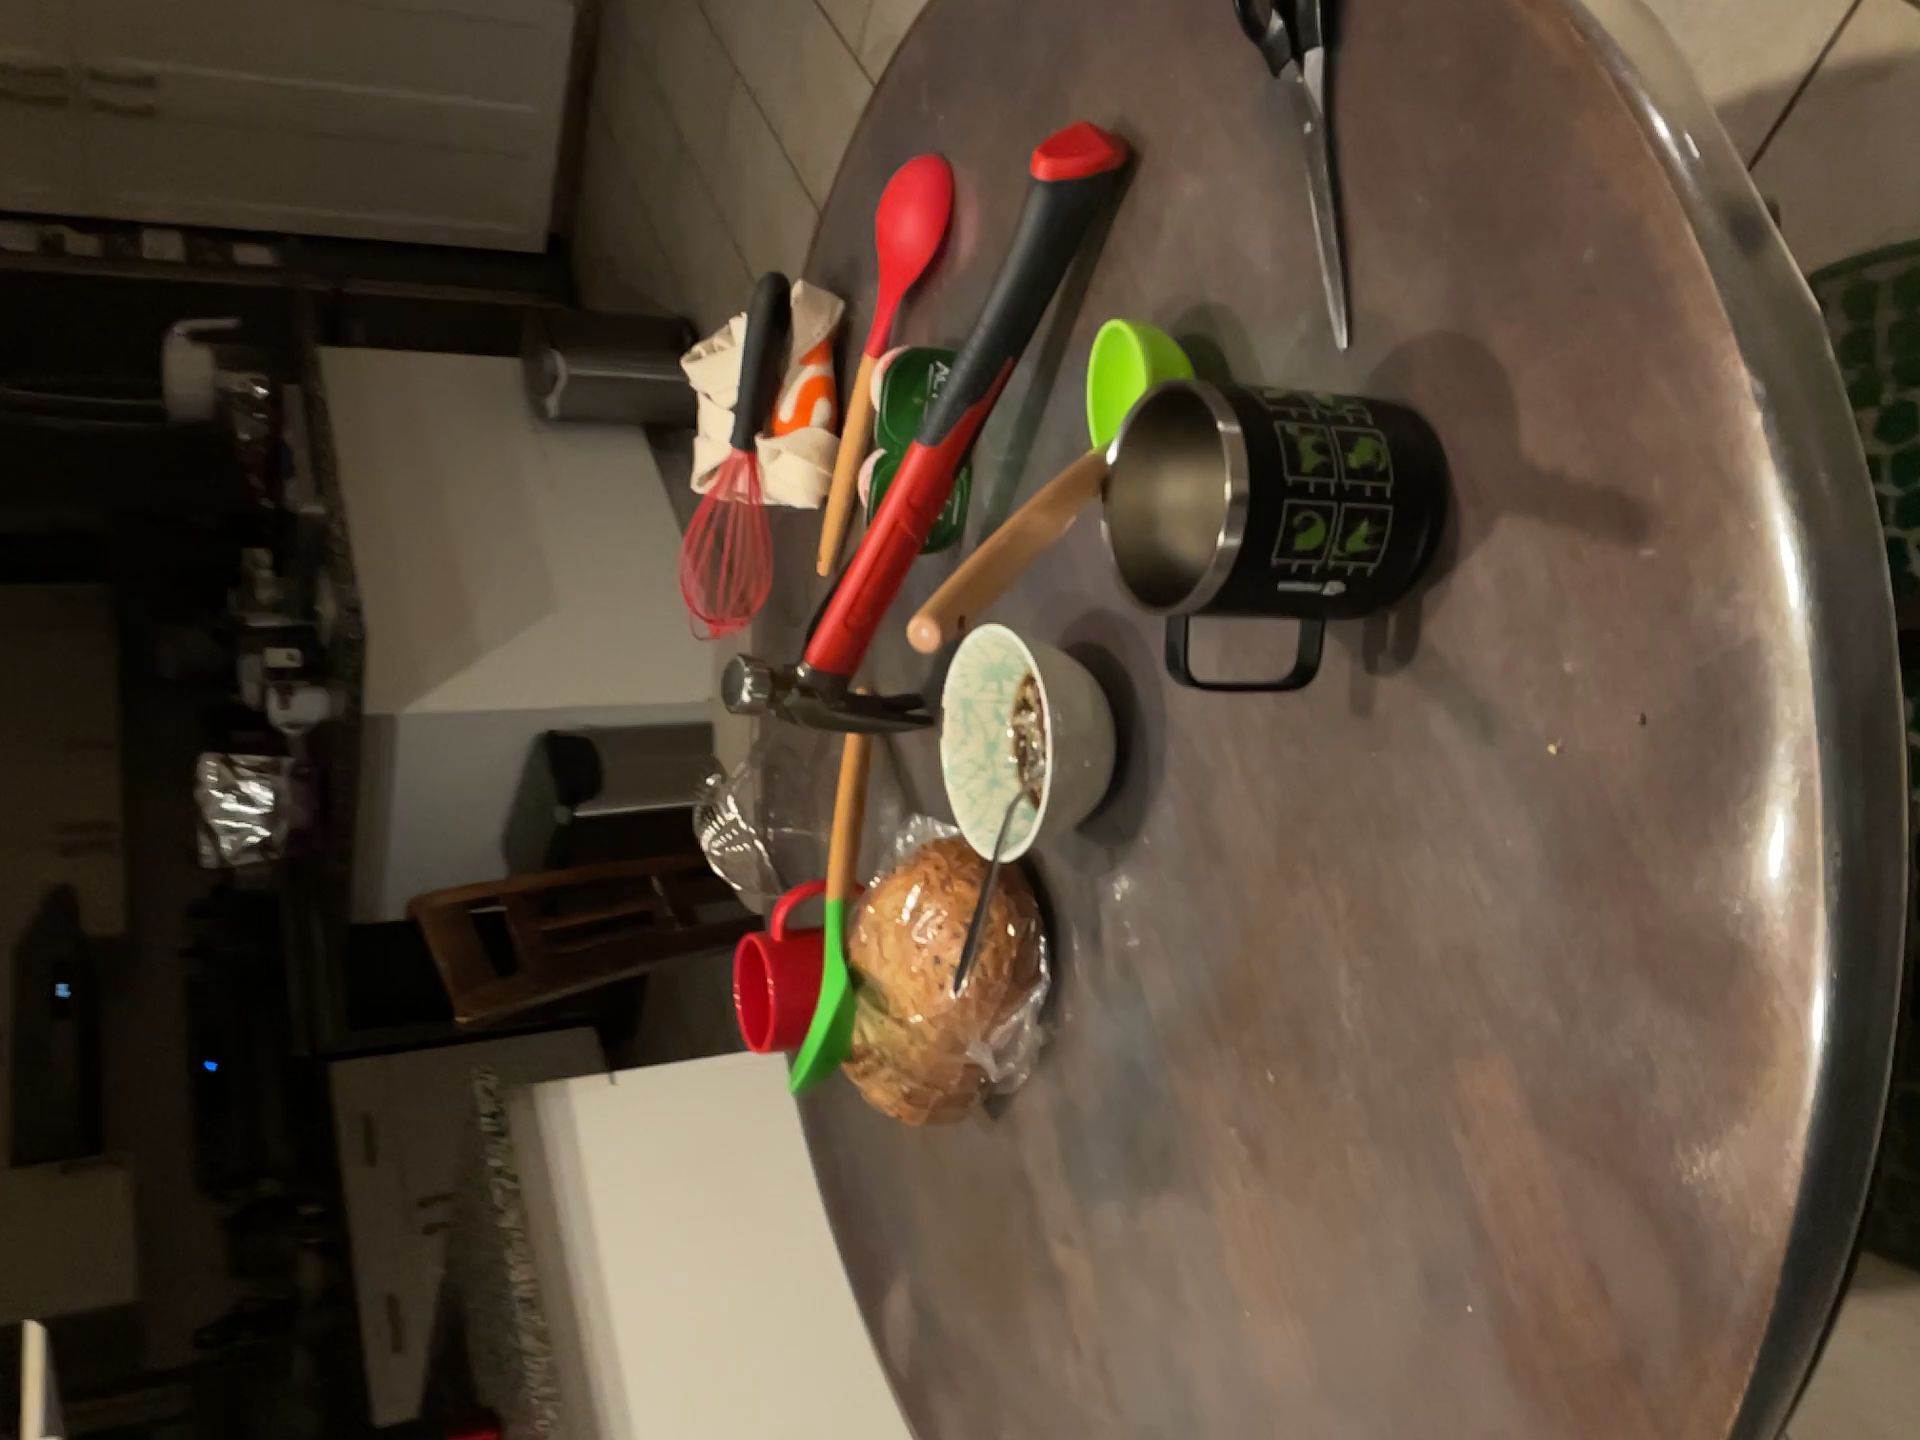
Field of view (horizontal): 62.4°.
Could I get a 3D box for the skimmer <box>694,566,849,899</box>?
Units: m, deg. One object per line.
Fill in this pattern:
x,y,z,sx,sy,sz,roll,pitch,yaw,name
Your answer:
-0.110,-0.002,1.174,0.363,0.090,0.127,-55,52,36,skimmer

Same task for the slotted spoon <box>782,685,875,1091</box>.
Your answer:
-0.074,0.094,0.998,0.070,0.031,0.314,123,159,-44,slotted spoon

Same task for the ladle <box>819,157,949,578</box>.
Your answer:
-0.061,-0.223,1.061,0.069,0.031,0.315,-117,33,-41,ladle

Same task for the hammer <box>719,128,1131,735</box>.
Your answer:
0.000,-0.142,0.891,0.386,0.143,0.038,-59,42,31,hammer

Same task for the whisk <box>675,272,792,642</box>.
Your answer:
-0.160,-0.183,1.152,0.073,0.073,0.295,-121,39,-46,whisk

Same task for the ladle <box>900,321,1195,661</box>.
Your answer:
0.035,-0.093,0.631,0.062,0.320,0.078,8,118,20,ladle
